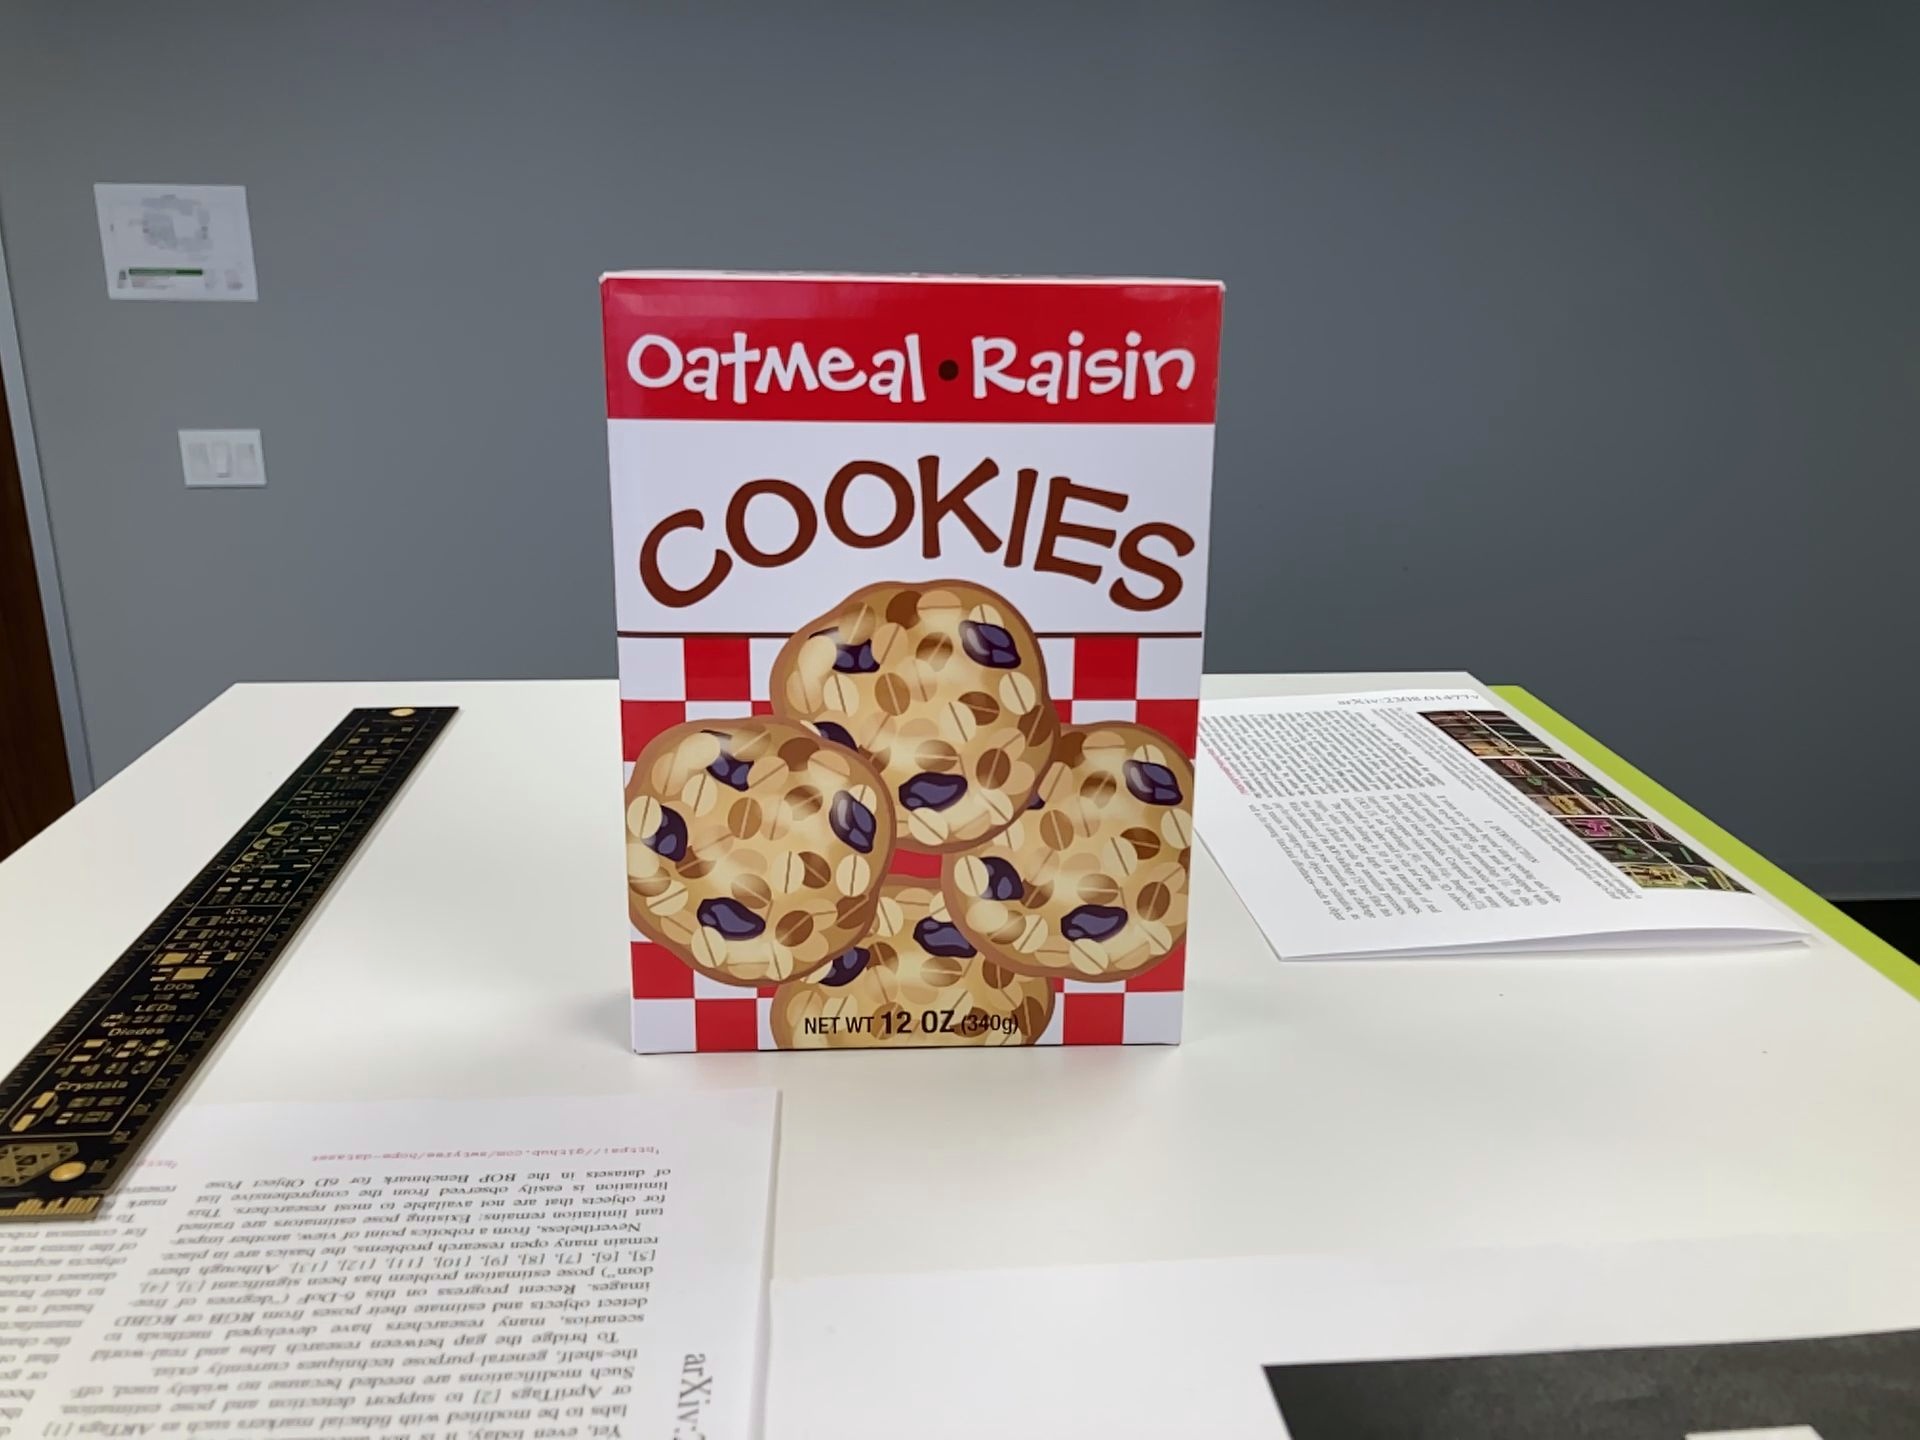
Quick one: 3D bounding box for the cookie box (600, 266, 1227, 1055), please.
[{"bbox_3d":[-0.010,-0.012,0.345,0.123,0.167,0.040,0,17,-3],"label":"cookie box"}]
